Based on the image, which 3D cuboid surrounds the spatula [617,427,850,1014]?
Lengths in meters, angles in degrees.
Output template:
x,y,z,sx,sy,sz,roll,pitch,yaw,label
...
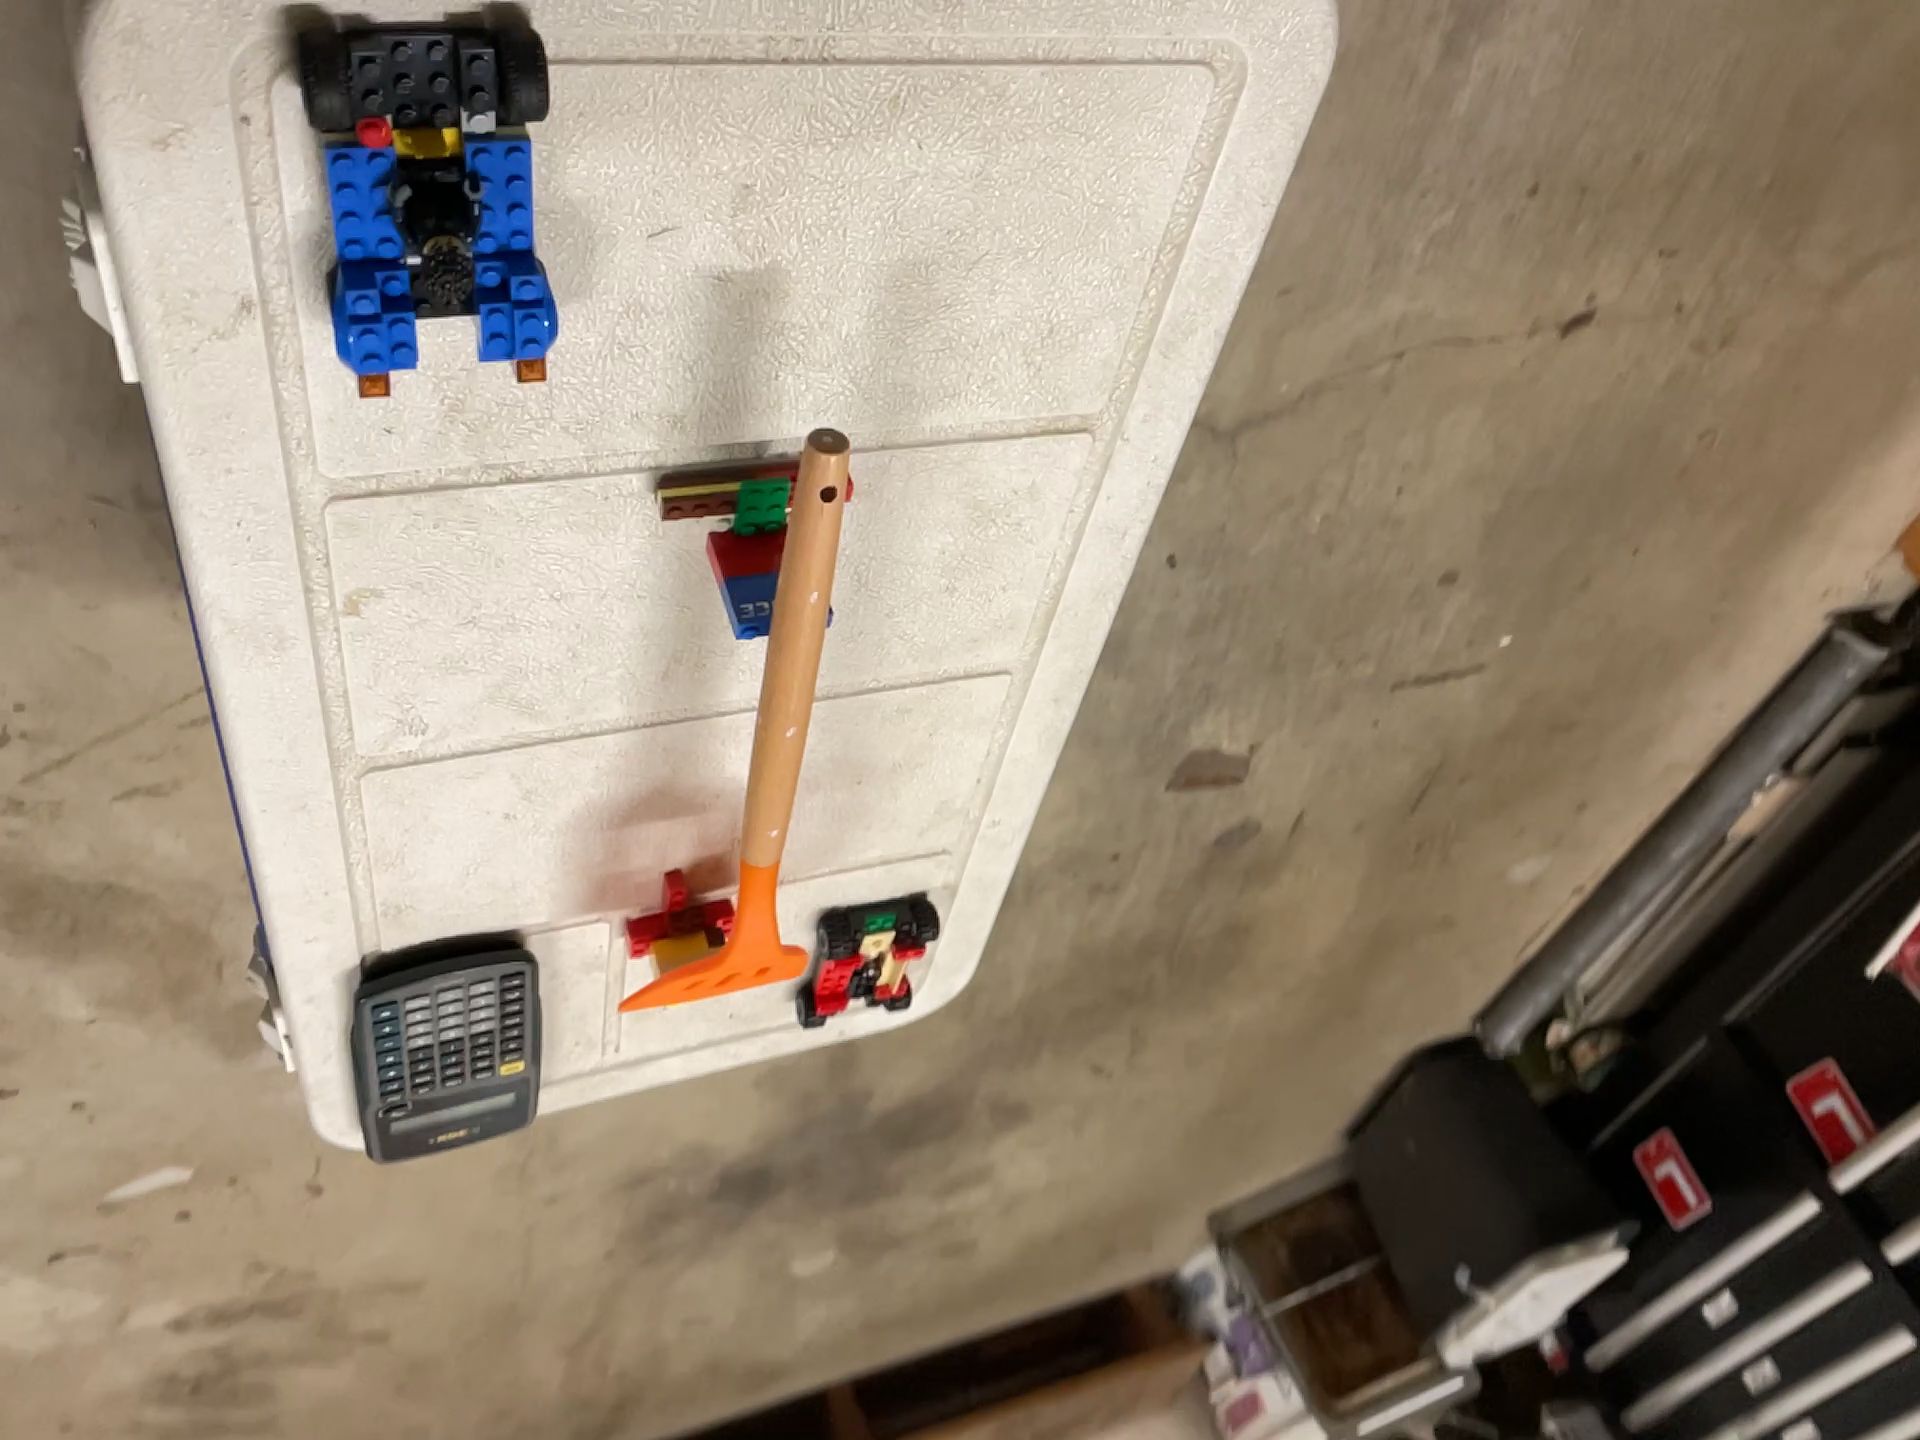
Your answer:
x,y,z,sx,sy,sz,roll,pitch,yaw,label
-0.072,0.024,0.567,0.081,0.041,0.322,-8,139,-22,spatula
